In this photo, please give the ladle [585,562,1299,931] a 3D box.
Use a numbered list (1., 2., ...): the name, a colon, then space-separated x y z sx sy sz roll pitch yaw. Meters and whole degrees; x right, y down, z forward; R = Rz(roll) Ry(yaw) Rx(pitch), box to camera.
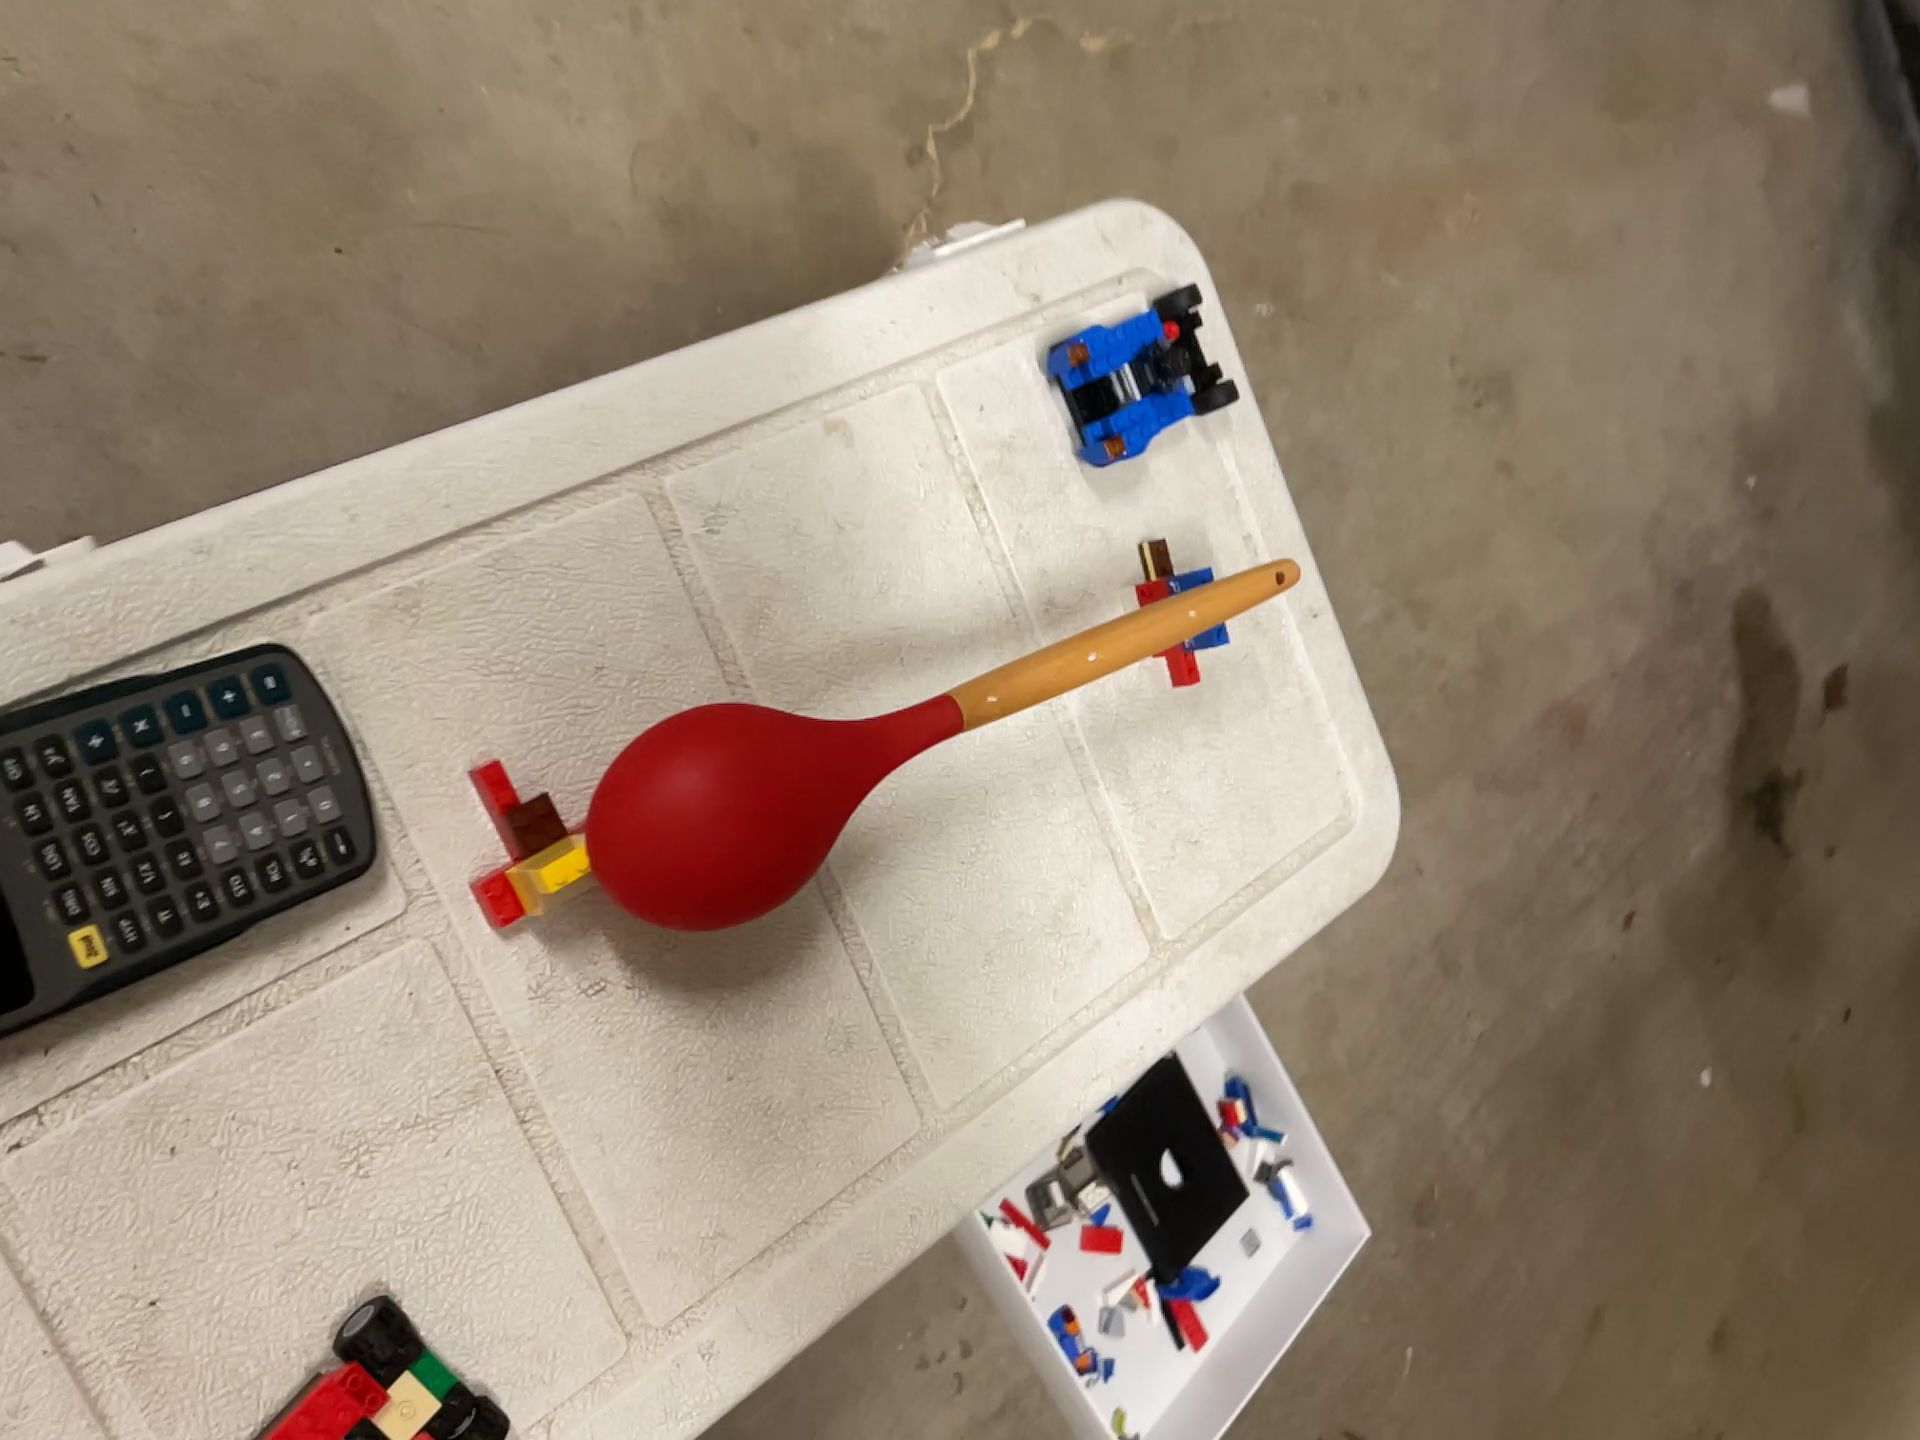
1. ladle: 0.016 -0.009 0.561 0.315 0.031 0.069 -23 98 -35
